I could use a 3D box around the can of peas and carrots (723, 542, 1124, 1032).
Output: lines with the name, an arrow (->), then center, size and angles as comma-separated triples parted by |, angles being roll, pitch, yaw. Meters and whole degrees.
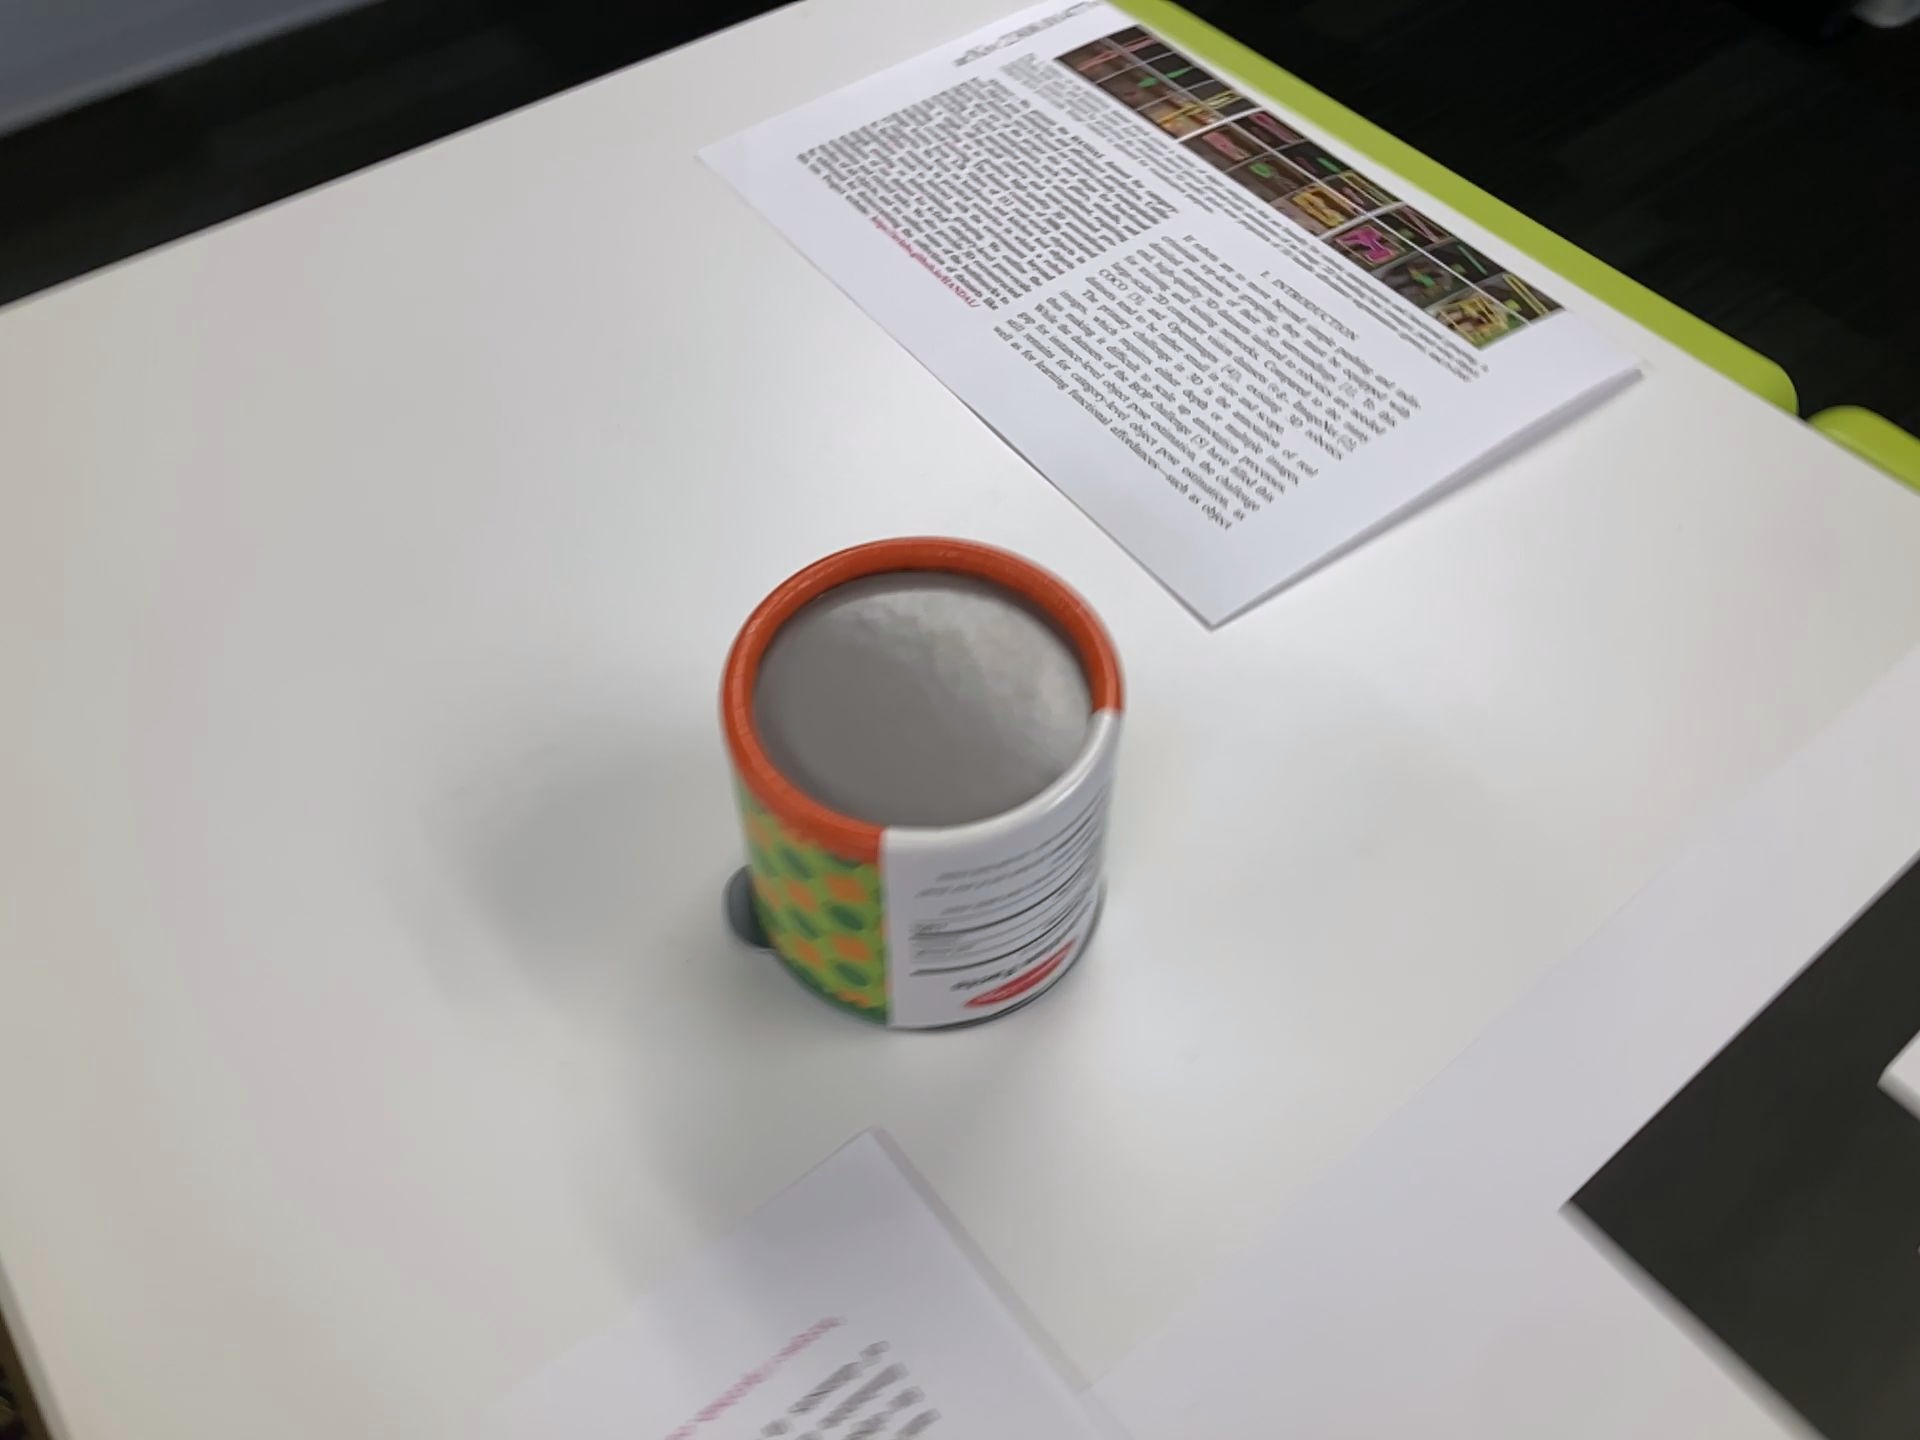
can of peas and carrots -> -0.008, 0.010, 0.280 | 0.071, 0.059, 0.071 | 0, 51, 0
